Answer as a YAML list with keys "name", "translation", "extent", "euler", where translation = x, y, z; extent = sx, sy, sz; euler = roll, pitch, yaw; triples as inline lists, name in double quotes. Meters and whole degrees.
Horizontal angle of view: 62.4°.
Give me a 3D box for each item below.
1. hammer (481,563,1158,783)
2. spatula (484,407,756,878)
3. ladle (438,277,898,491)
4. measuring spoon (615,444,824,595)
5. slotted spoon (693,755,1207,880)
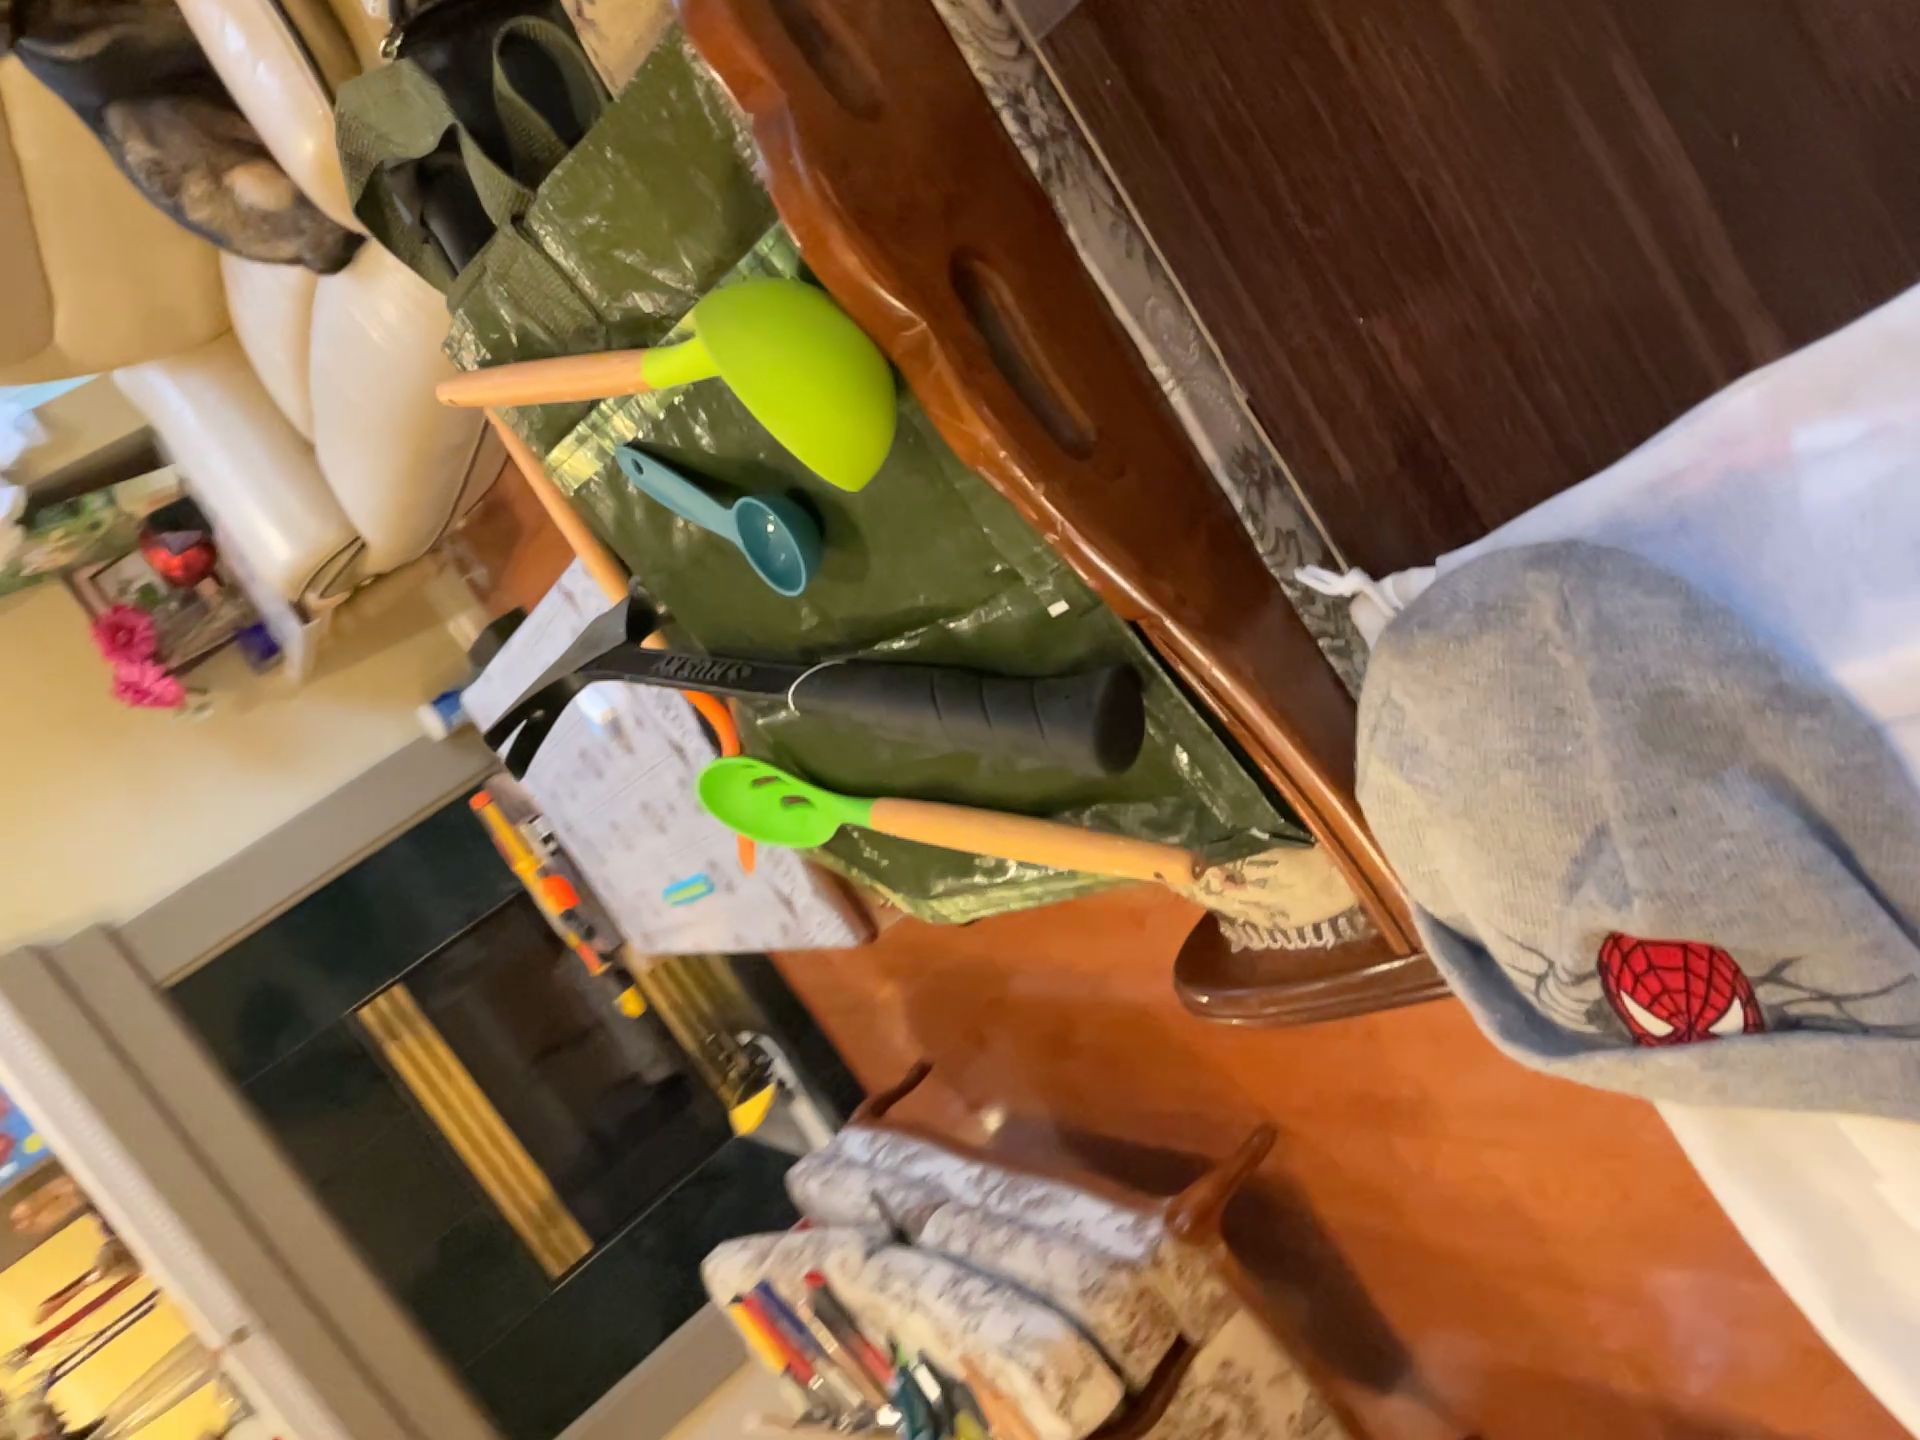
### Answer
- name: "hammer"
  translation: [-0.074, -0.013, 0.693]
  extent: [0.409, 0.149, 0.036]
  euler: [8, 139, 49]
- name: "spatula"
  translation: [-0.196, -0.053, 0.937]
  extent: [0.322, 0.041, 0.081]
  euler: [56, 163, 3]
- name: "ladle"
  translation: [-0.135, -0.124, 0.610]
  extent: [0.320, 0.062, 0.078]
  euler: [9, 156, 48]
- name: "measuring spoon"
  translation: [-0.095, -0.089, 0.632]
  extent: [0.129, 0.021, 0.042]
  euler: [32, 146, 37]
- name: "slotted spoon"
  translation: [-0.017, 0.046, 0.702]
  extent: [0.314, 0.031, 0.070]
  euler: [4, 142, 48]
